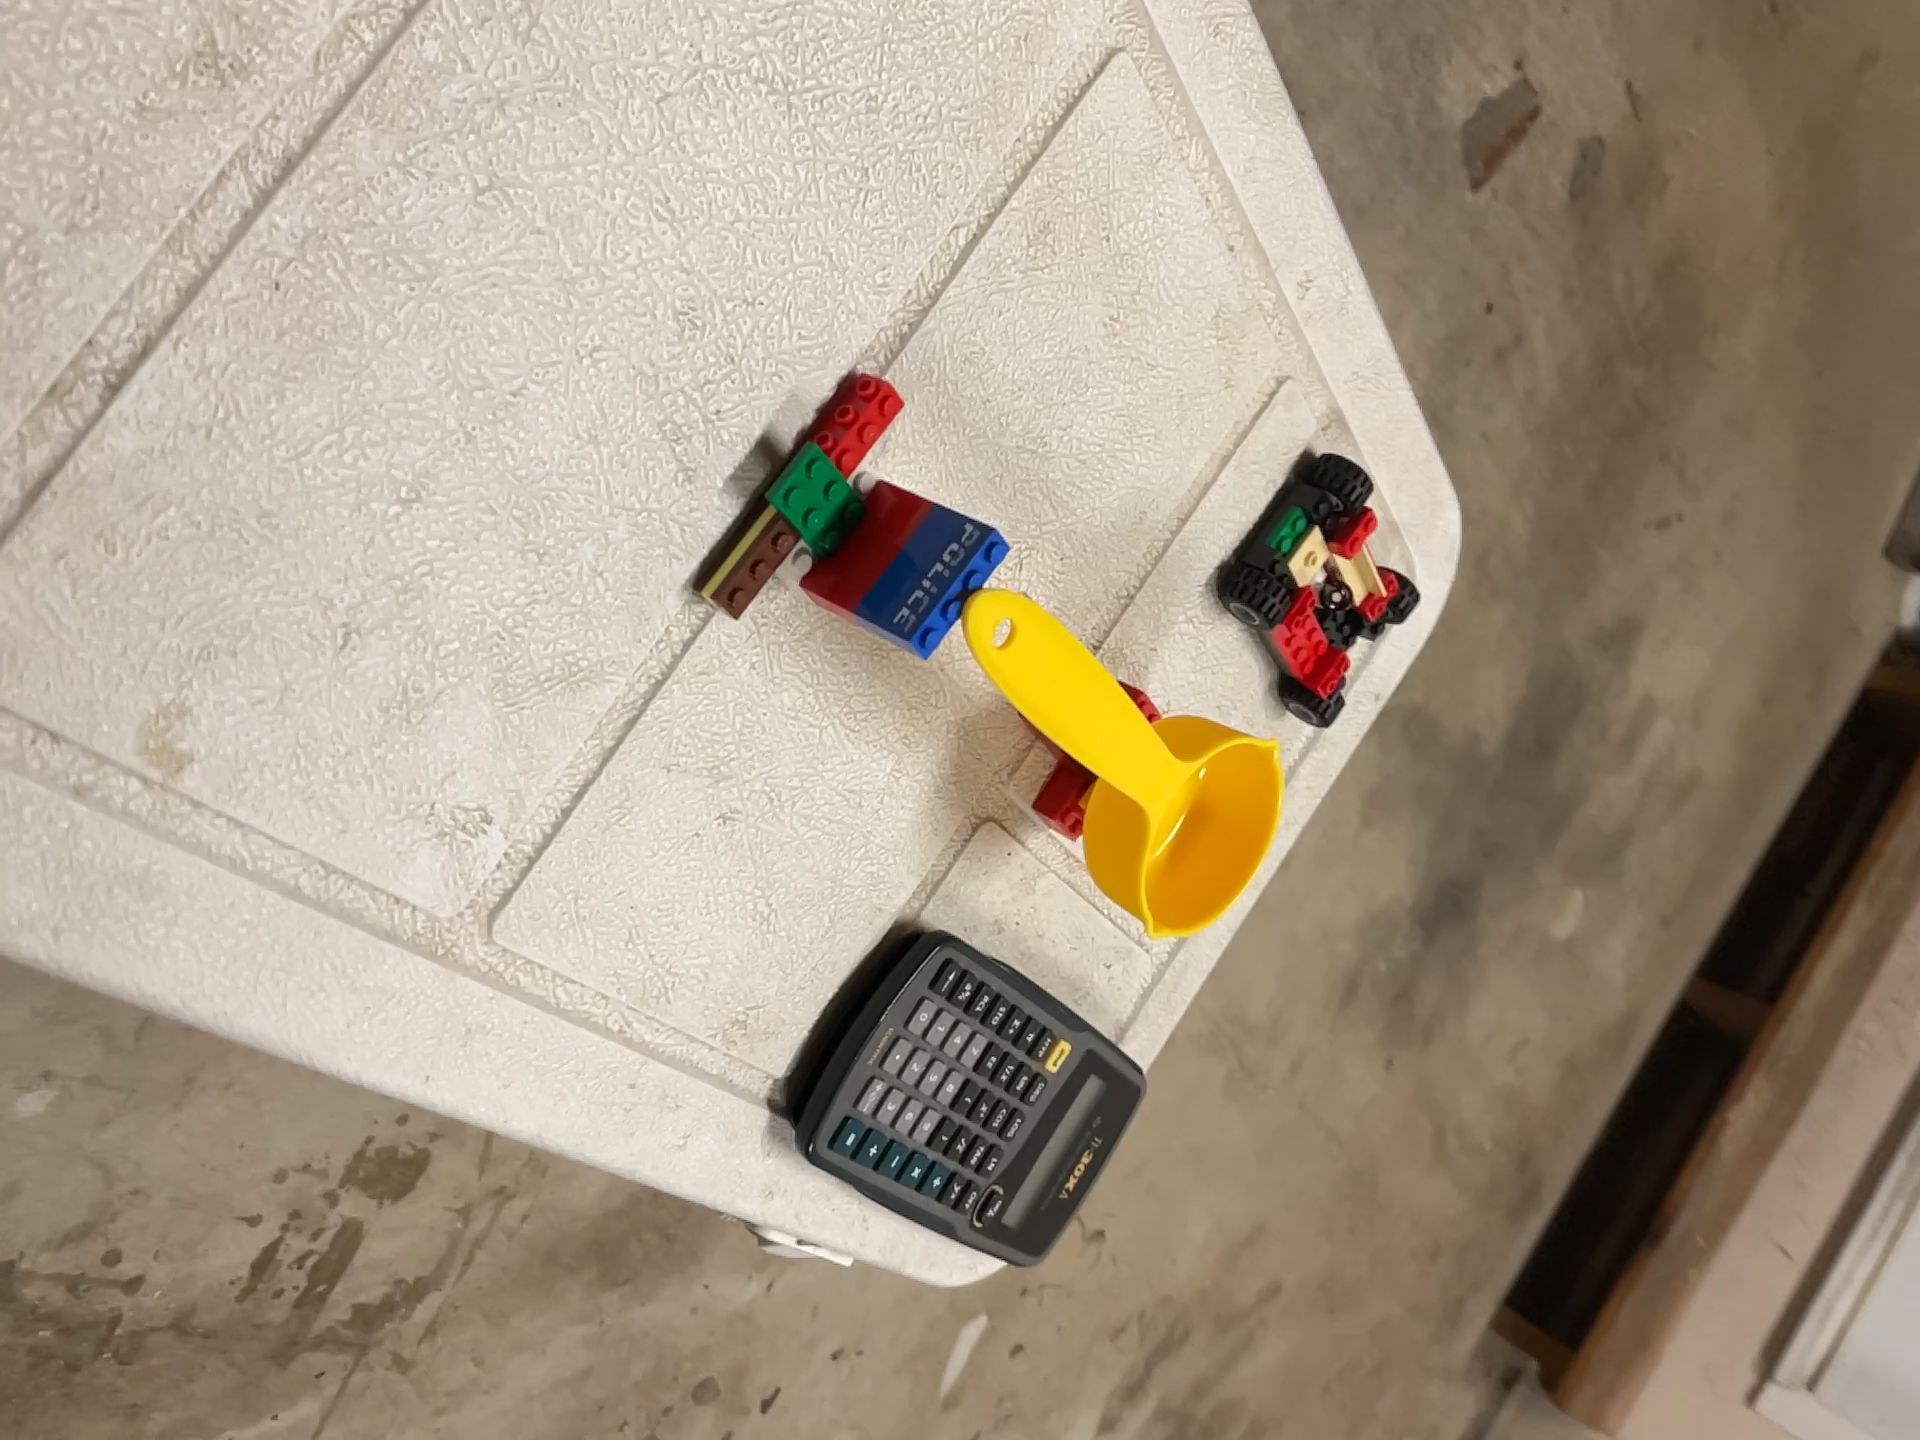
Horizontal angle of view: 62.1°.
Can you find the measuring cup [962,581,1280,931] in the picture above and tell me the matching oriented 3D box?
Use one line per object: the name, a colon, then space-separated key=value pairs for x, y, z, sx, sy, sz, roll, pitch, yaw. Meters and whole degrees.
measuring cup: x=0.036 y=0.004 z=0.412 sx=0.062 sy=0.029 sz=0.156 roll=-56 pitch=137 yaw=-7
